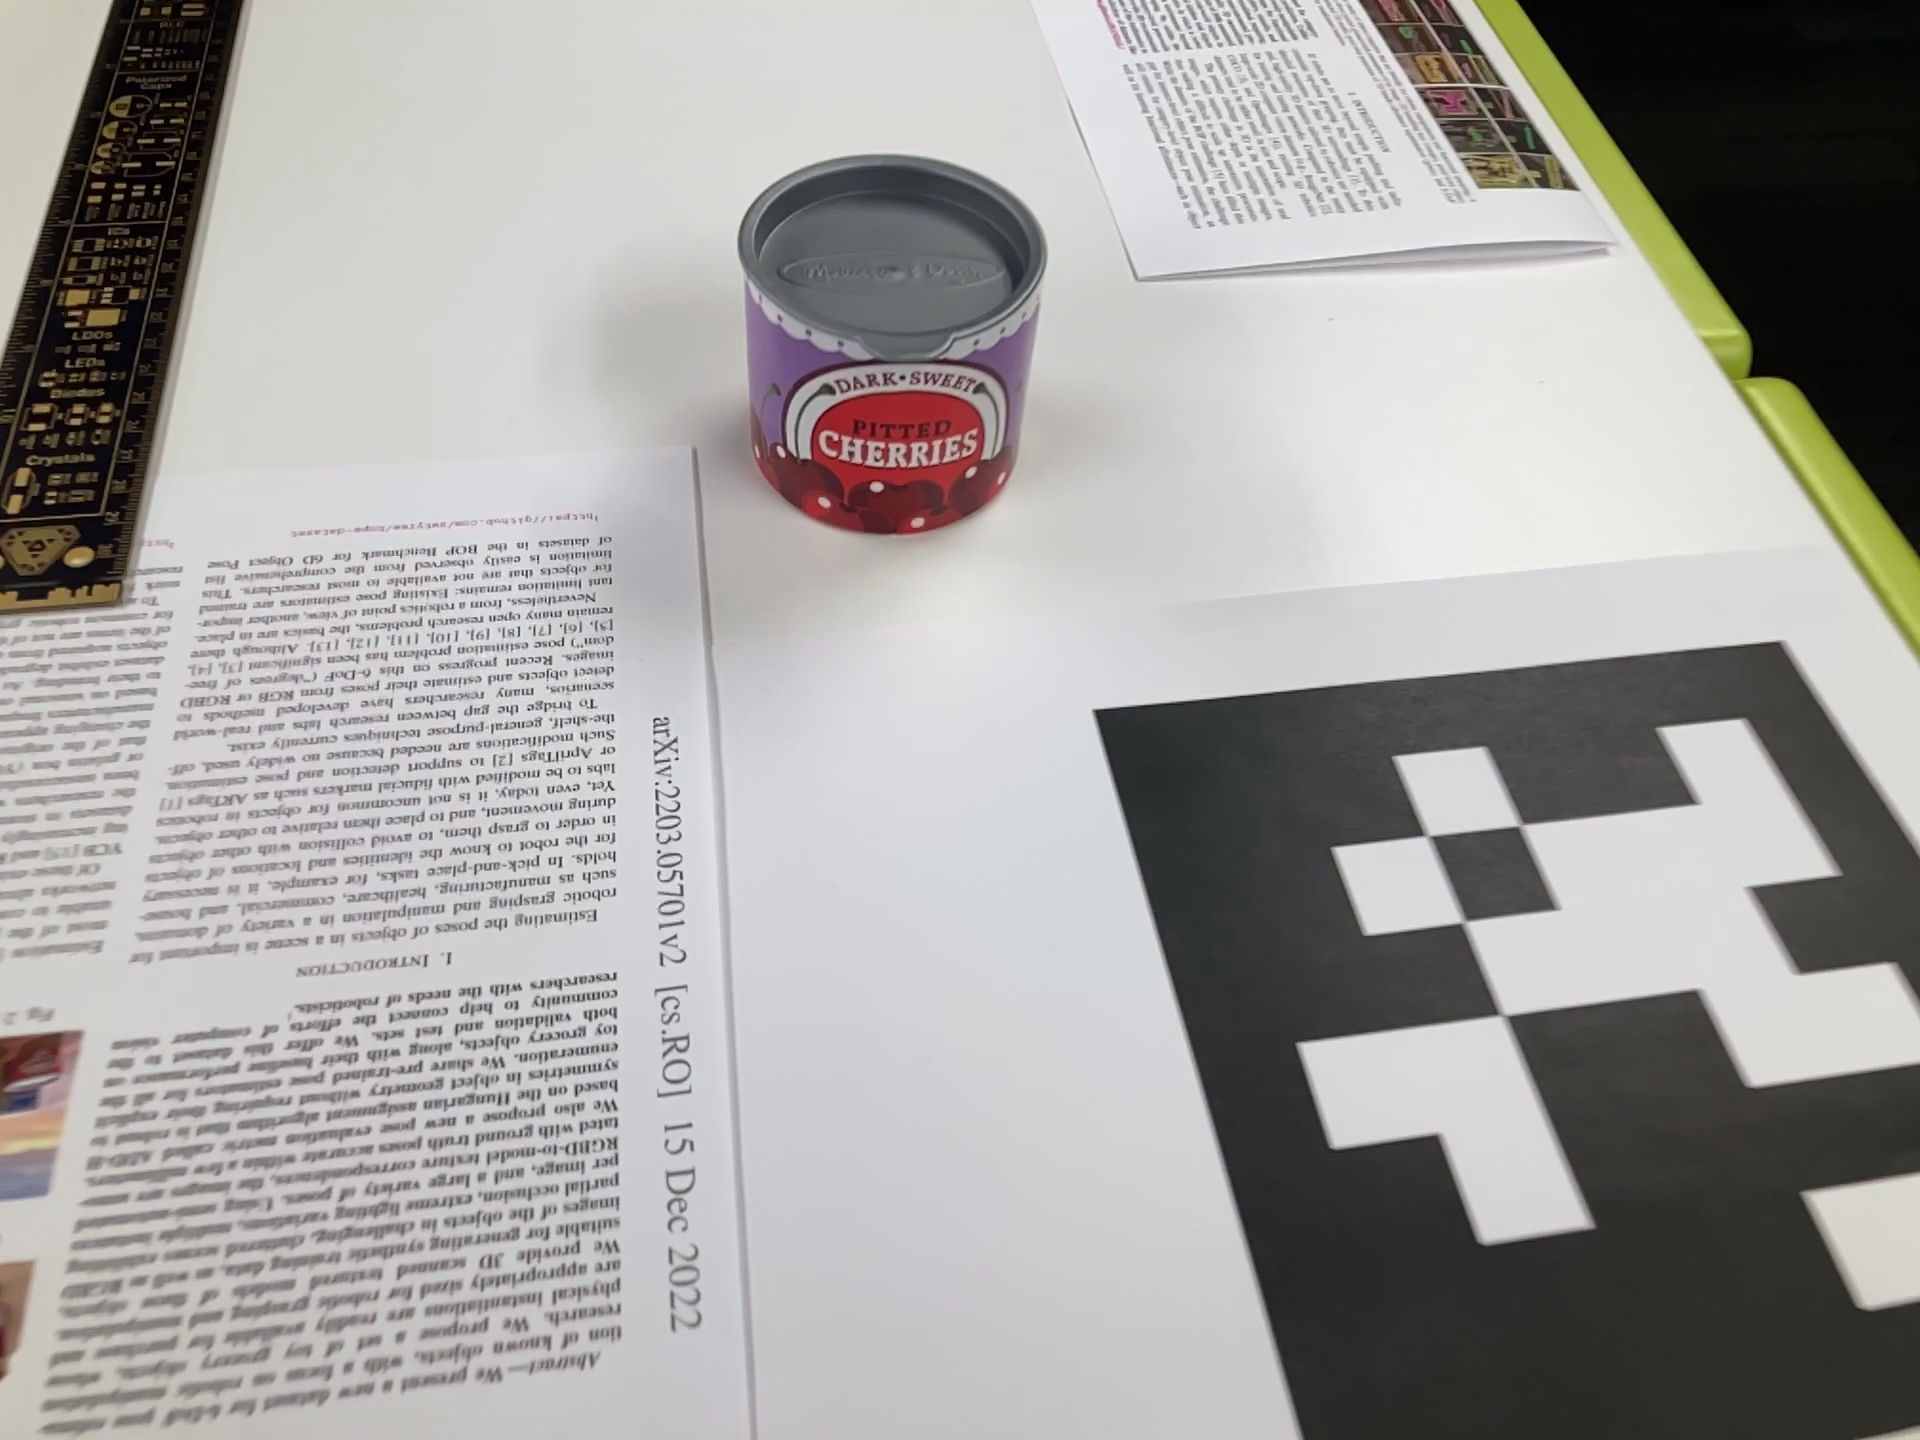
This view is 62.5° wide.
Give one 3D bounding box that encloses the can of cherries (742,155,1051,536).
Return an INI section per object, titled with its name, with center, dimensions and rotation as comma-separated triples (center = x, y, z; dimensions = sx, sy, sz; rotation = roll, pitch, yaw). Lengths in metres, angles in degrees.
[can of cherries]
center = -0.015, -0.083, 0.361
dimensions = 0.071, 0.058, 0.071
rotation = 2, 52, -3
